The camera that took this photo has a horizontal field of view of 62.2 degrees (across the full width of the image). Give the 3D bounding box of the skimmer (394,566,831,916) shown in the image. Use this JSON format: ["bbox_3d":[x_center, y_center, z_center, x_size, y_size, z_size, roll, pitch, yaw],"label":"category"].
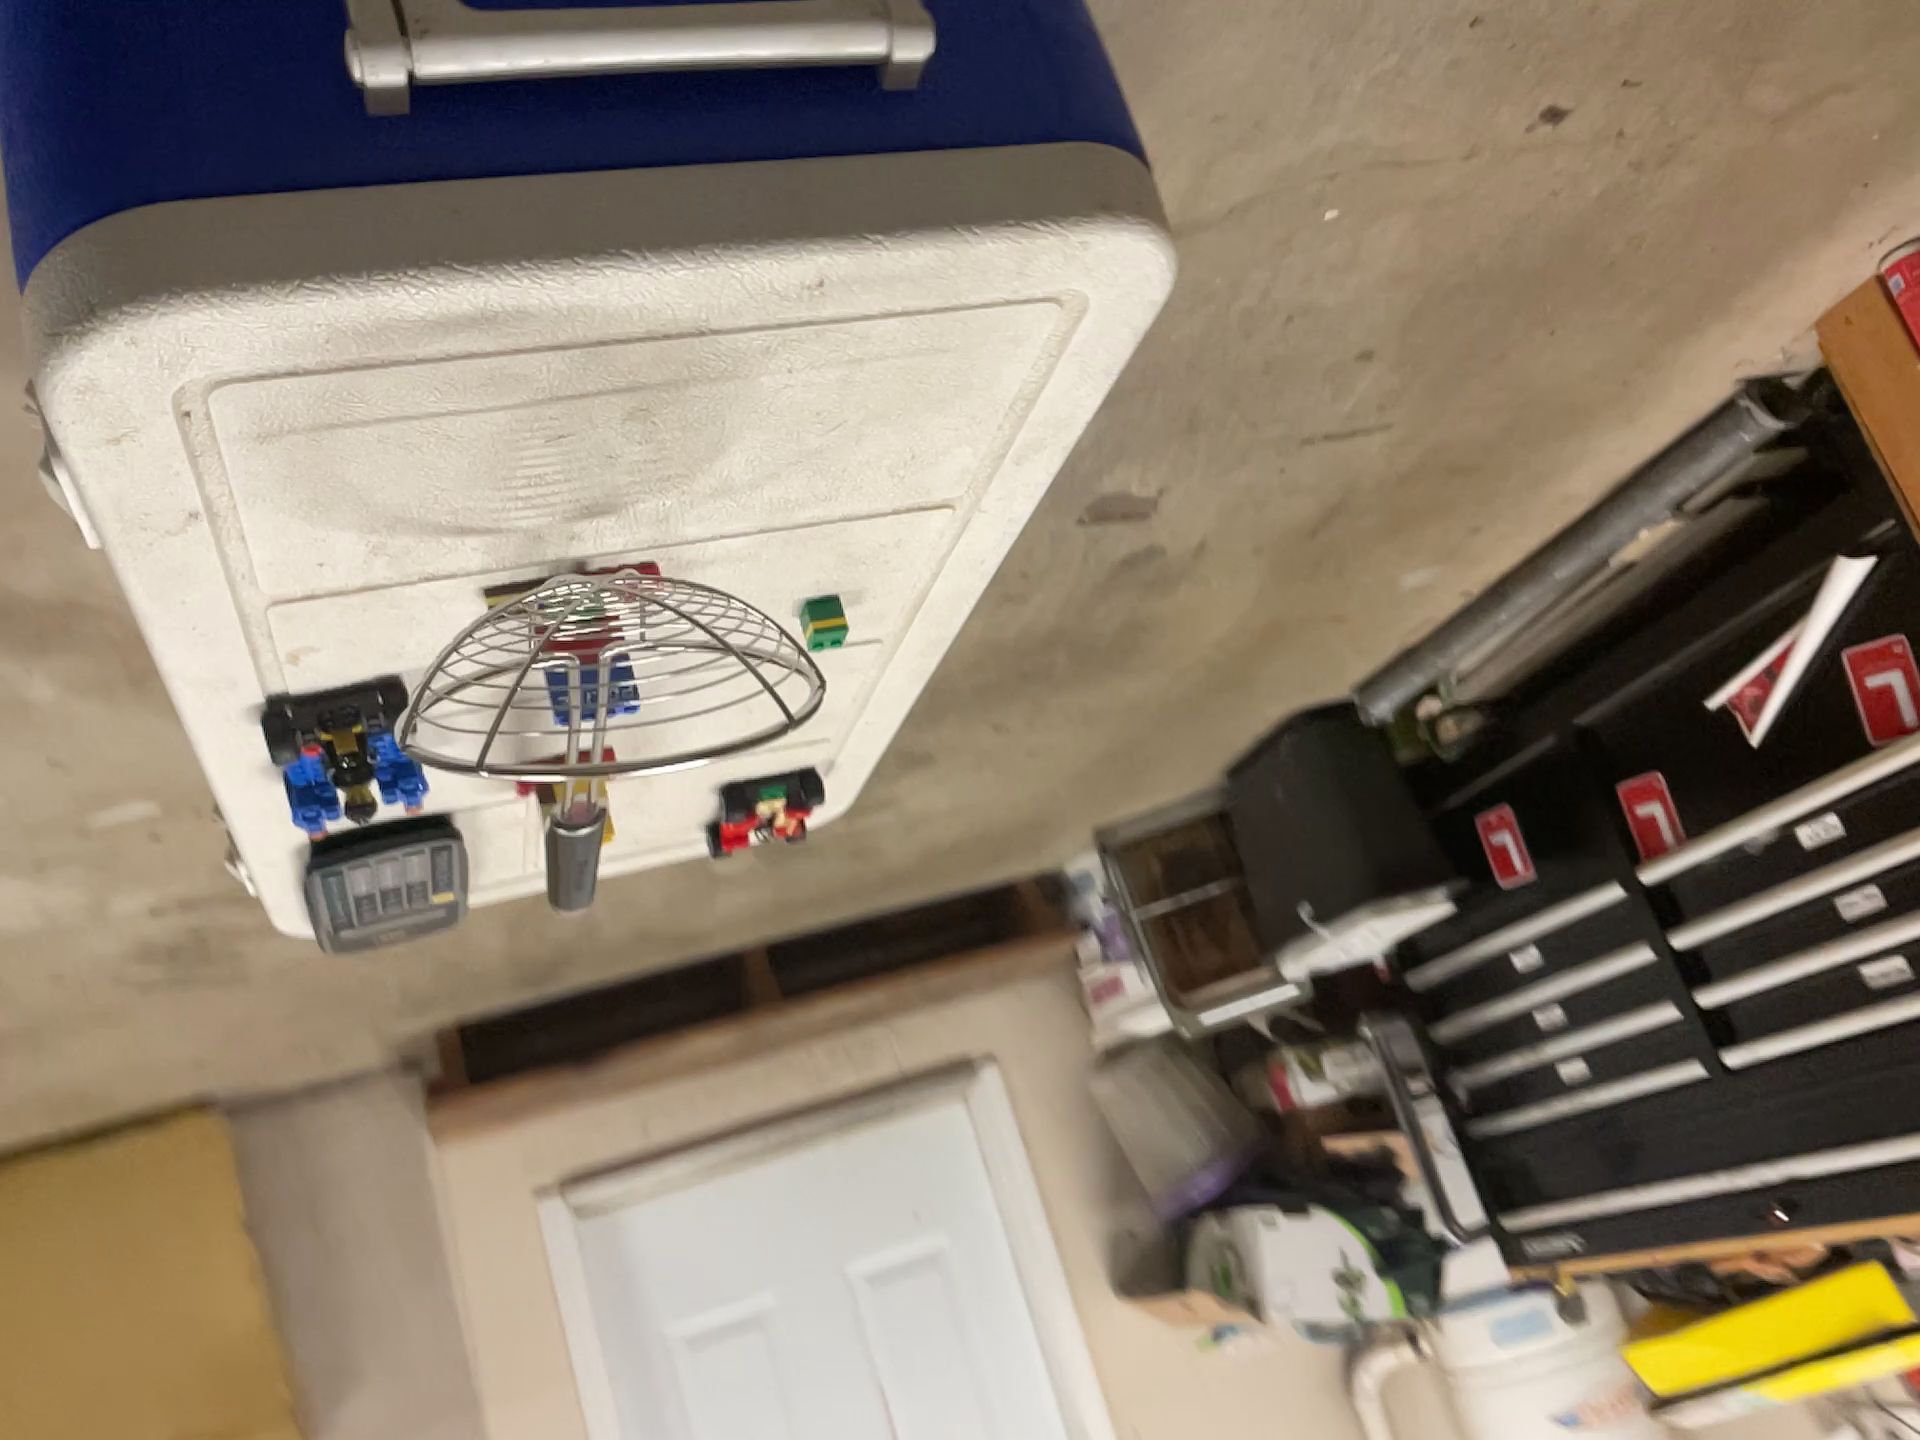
[{"bbox_3d":[-0.136,0.042,0.595,0.127,0.090,0.362,-9,160,-19],"label":"skimmer"}]
